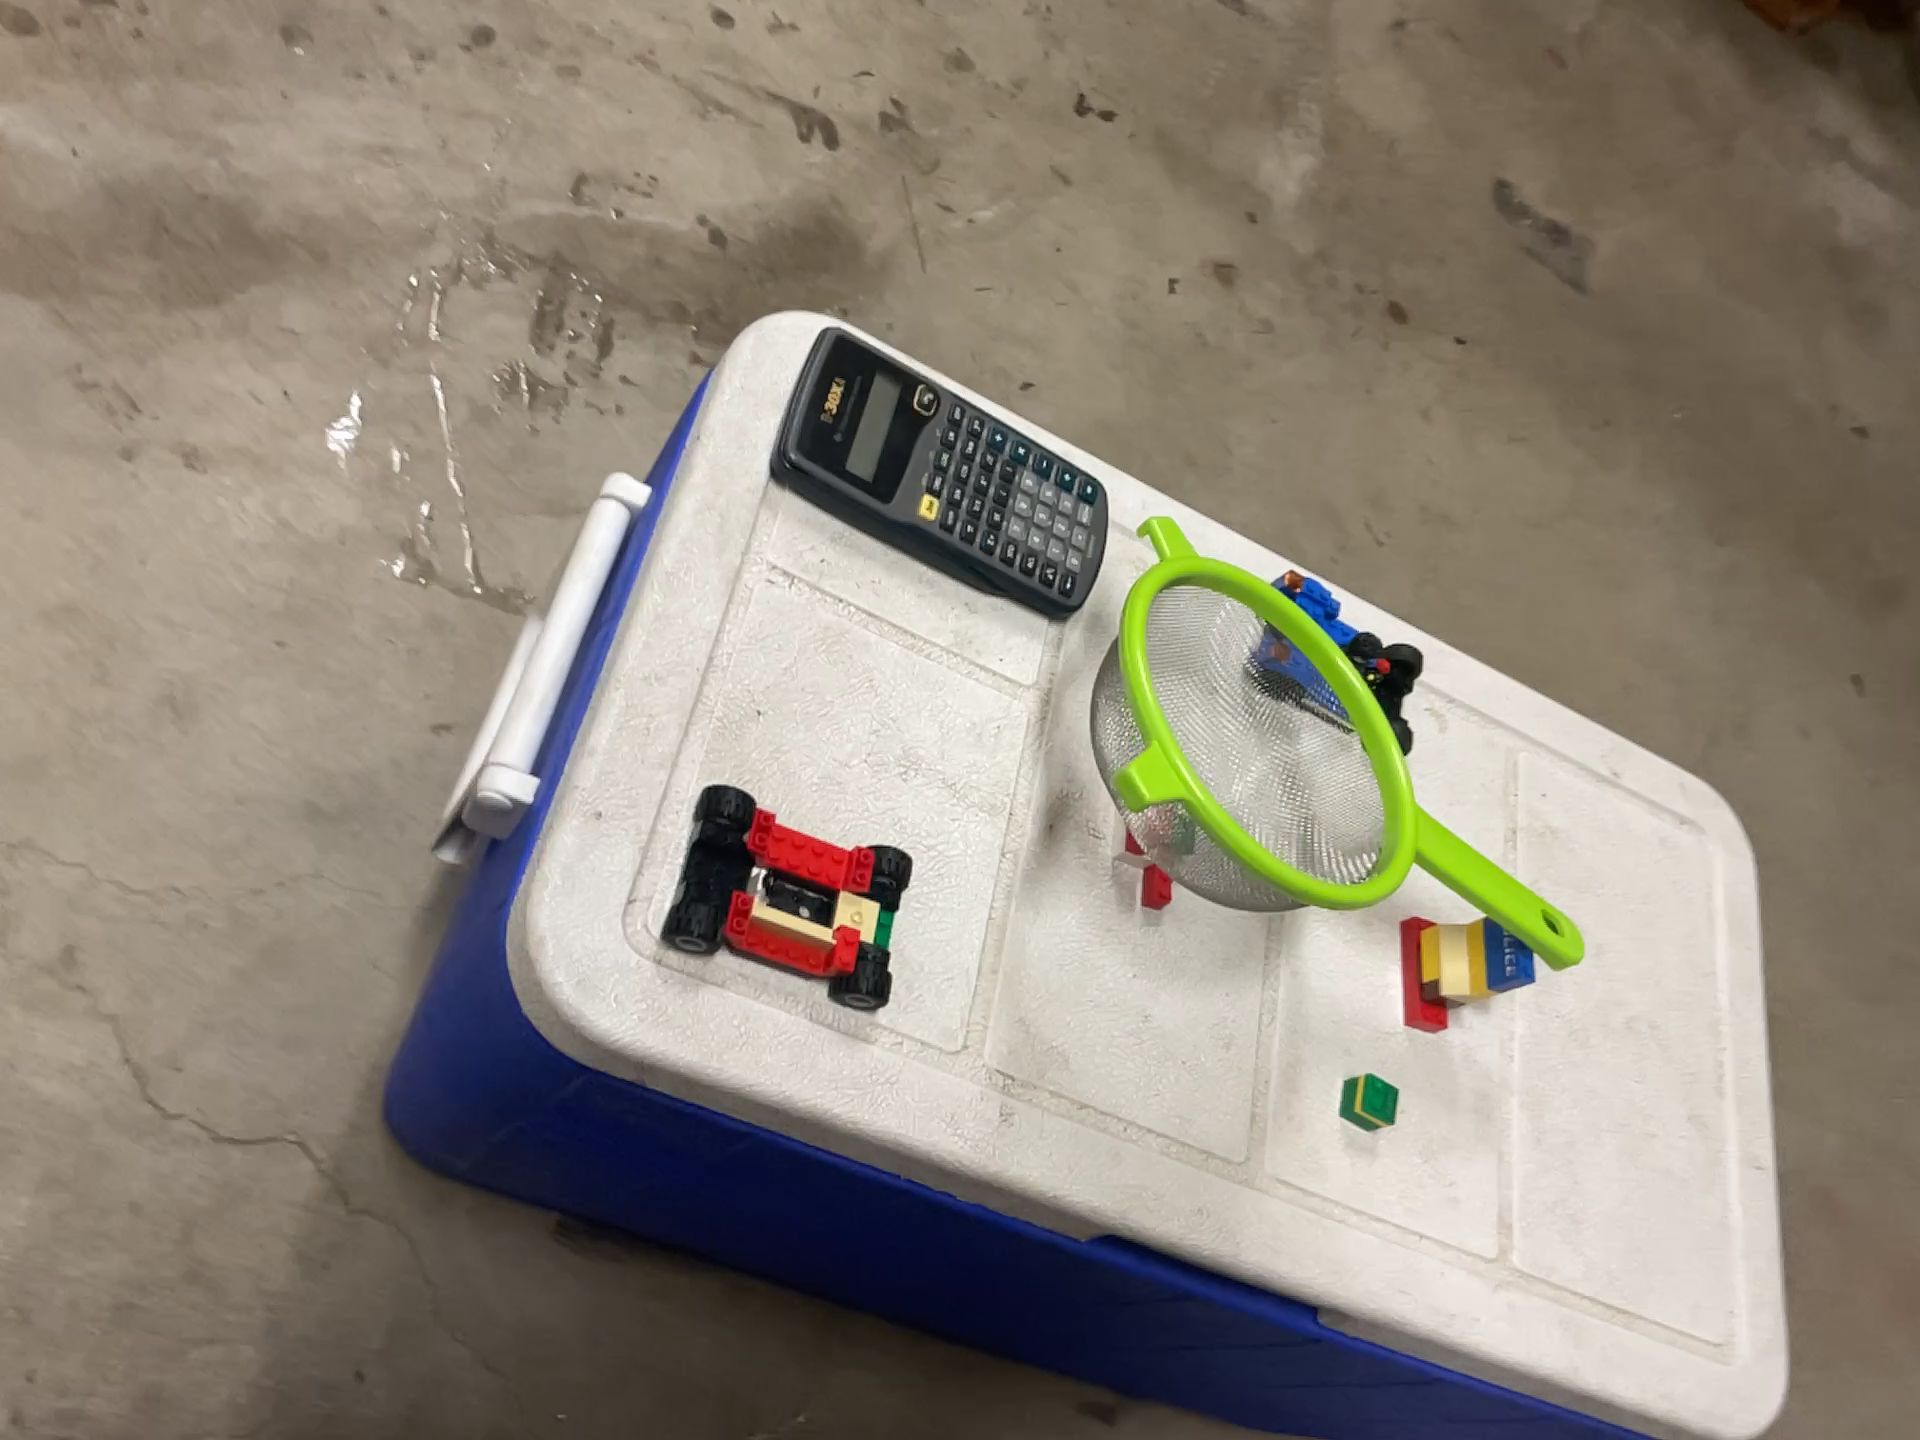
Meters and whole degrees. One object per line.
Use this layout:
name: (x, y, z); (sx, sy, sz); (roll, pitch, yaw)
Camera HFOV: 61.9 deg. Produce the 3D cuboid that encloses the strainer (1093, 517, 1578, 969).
strainer: (0.142, 0.042, 0.641); (0.256, 0.069, 0.152); (34, 41, -22)
